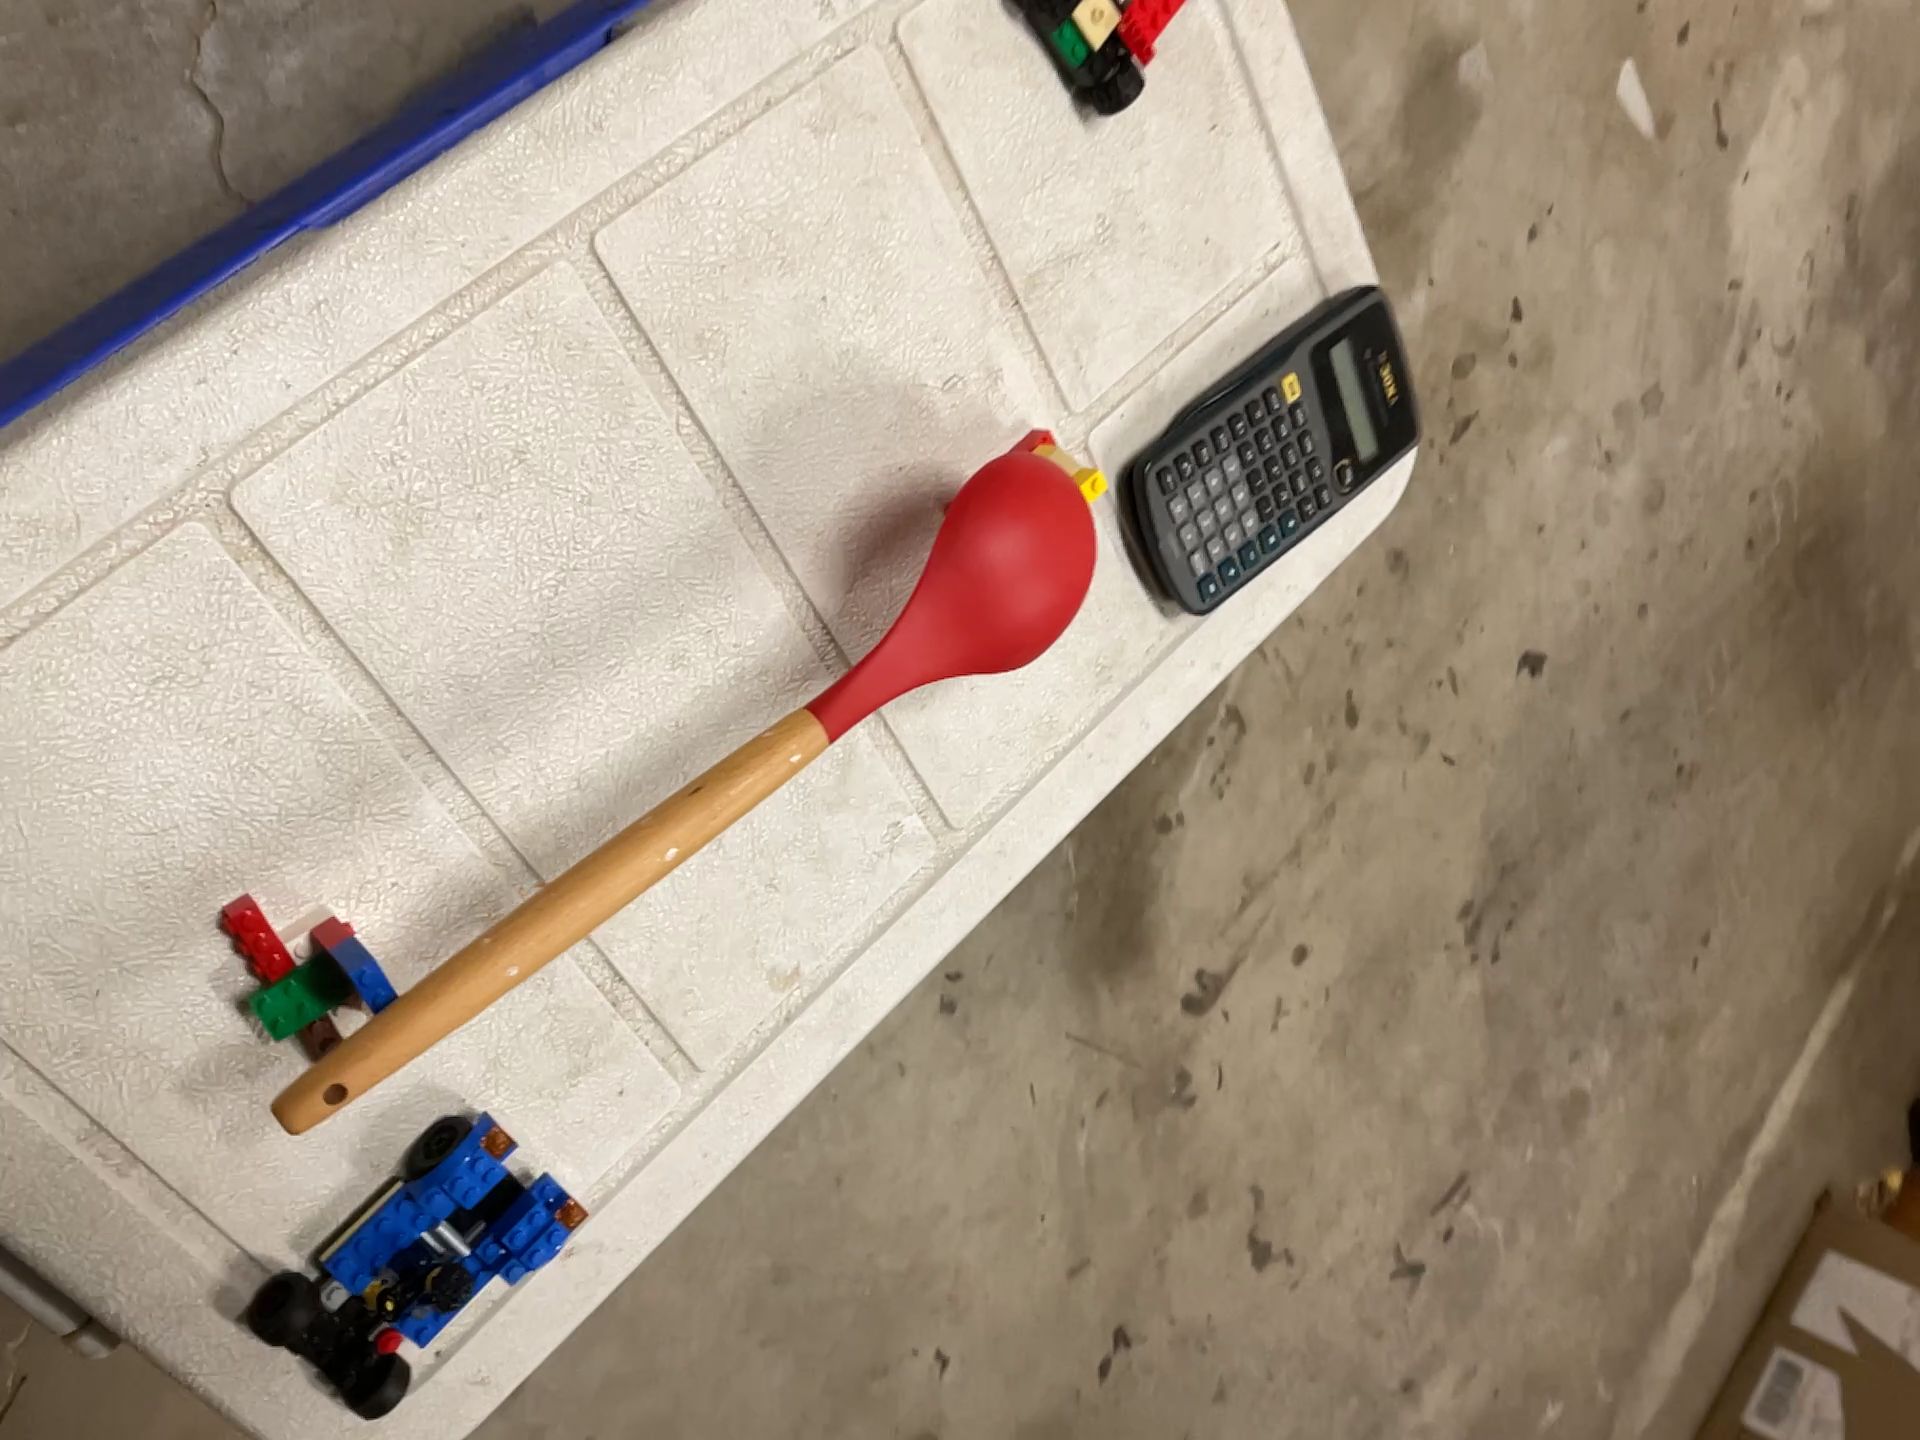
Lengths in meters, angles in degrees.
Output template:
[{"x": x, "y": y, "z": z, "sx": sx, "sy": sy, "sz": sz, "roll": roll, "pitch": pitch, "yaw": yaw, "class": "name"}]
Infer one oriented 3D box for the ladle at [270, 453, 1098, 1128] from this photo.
[{"x": -0.066, "y": 0.015, "z": 0.484, "sx": 0.315, "sy": 0.031, "sz": 0.069, "roll": -38, "pitch": 122, "yaw": -23, "class": "ladle"}]
